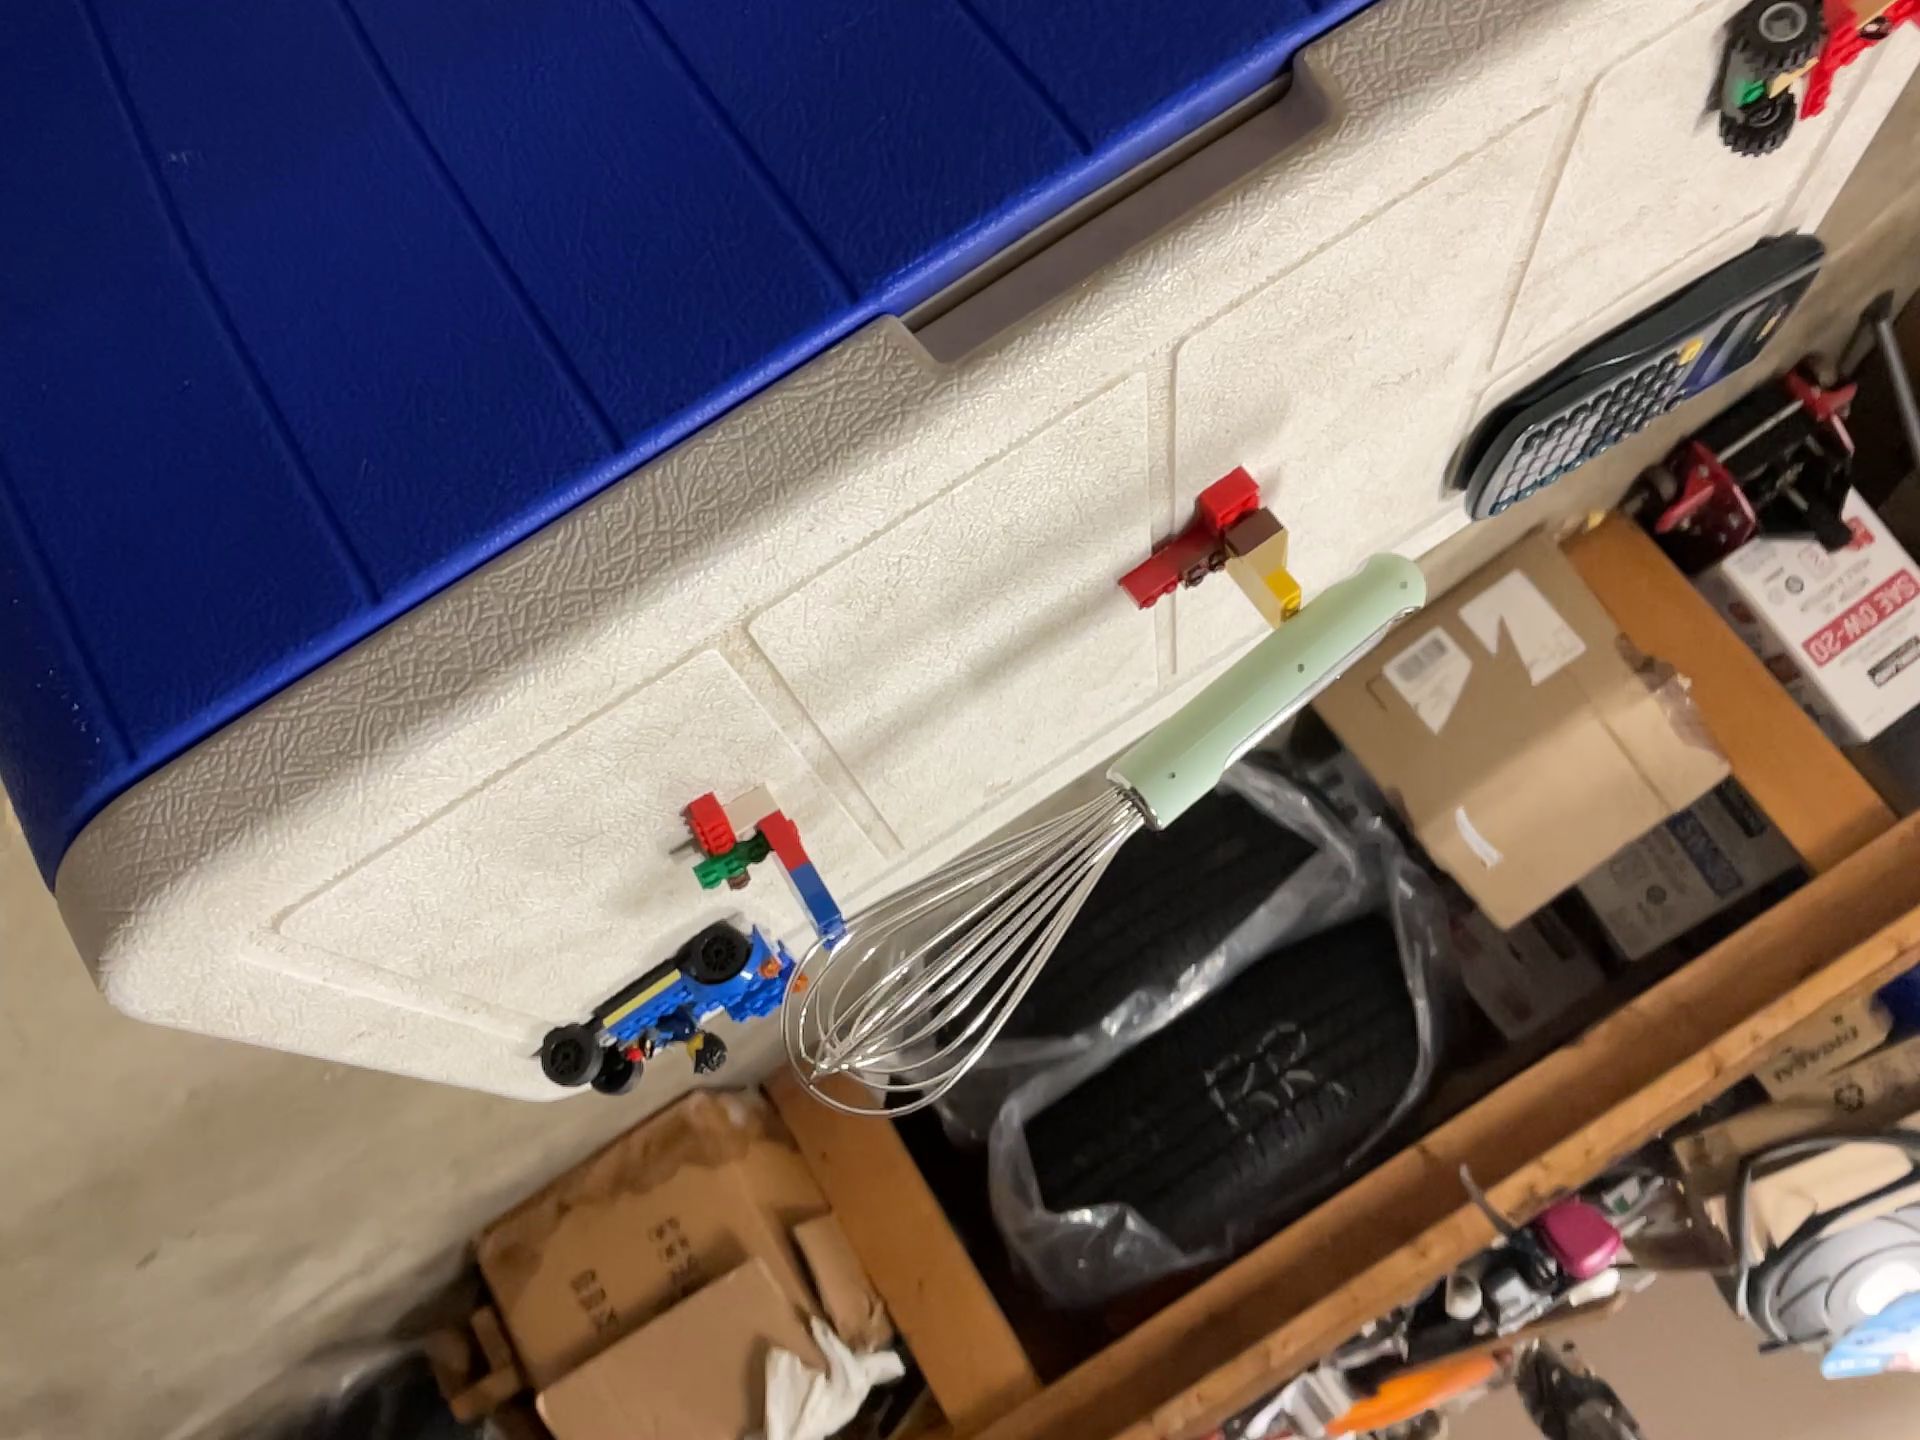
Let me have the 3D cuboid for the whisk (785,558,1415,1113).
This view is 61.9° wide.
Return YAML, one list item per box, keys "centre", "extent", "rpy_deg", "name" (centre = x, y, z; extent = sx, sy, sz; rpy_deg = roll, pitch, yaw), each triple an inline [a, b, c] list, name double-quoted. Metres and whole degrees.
- centre: [0.048, 0.030, 0.497]
  extent: [0.246, 0.059, 0.057]
  rpy_deg: [-39, 169, -7]
  name: "whisk"
